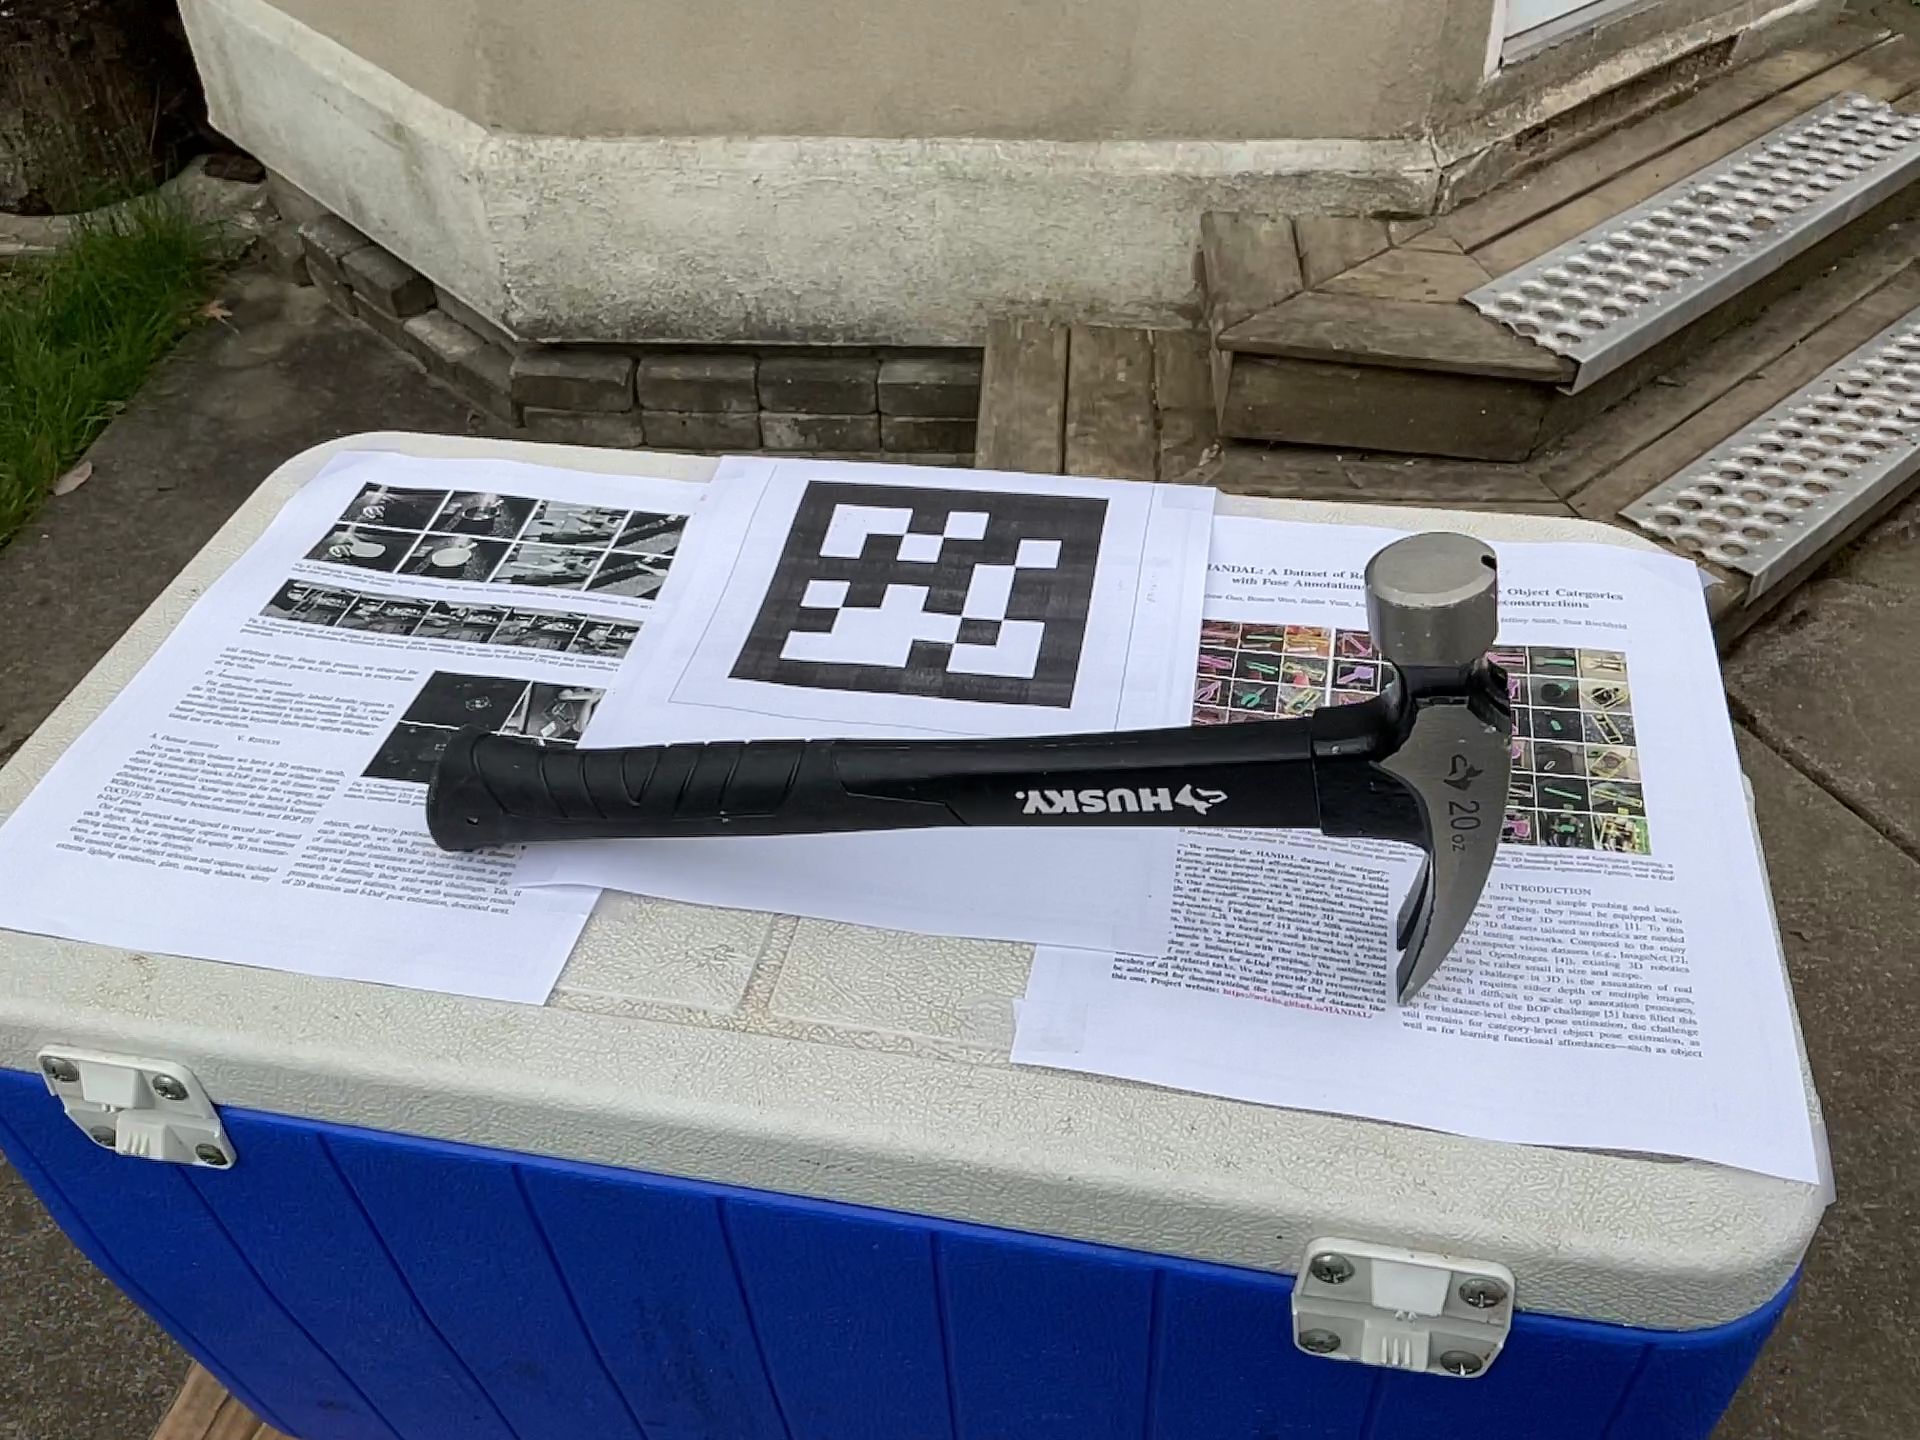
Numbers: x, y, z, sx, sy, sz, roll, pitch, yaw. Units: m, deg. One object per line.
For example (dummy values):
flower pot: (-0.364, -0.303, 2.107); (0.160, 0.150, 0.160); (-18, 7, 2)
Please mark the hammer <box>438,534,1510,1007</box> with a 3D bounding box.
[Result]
hammer: (-0.010, 0.024, 0.484); (0.335, 0.146, 0.035); (-3, 39, 18)
